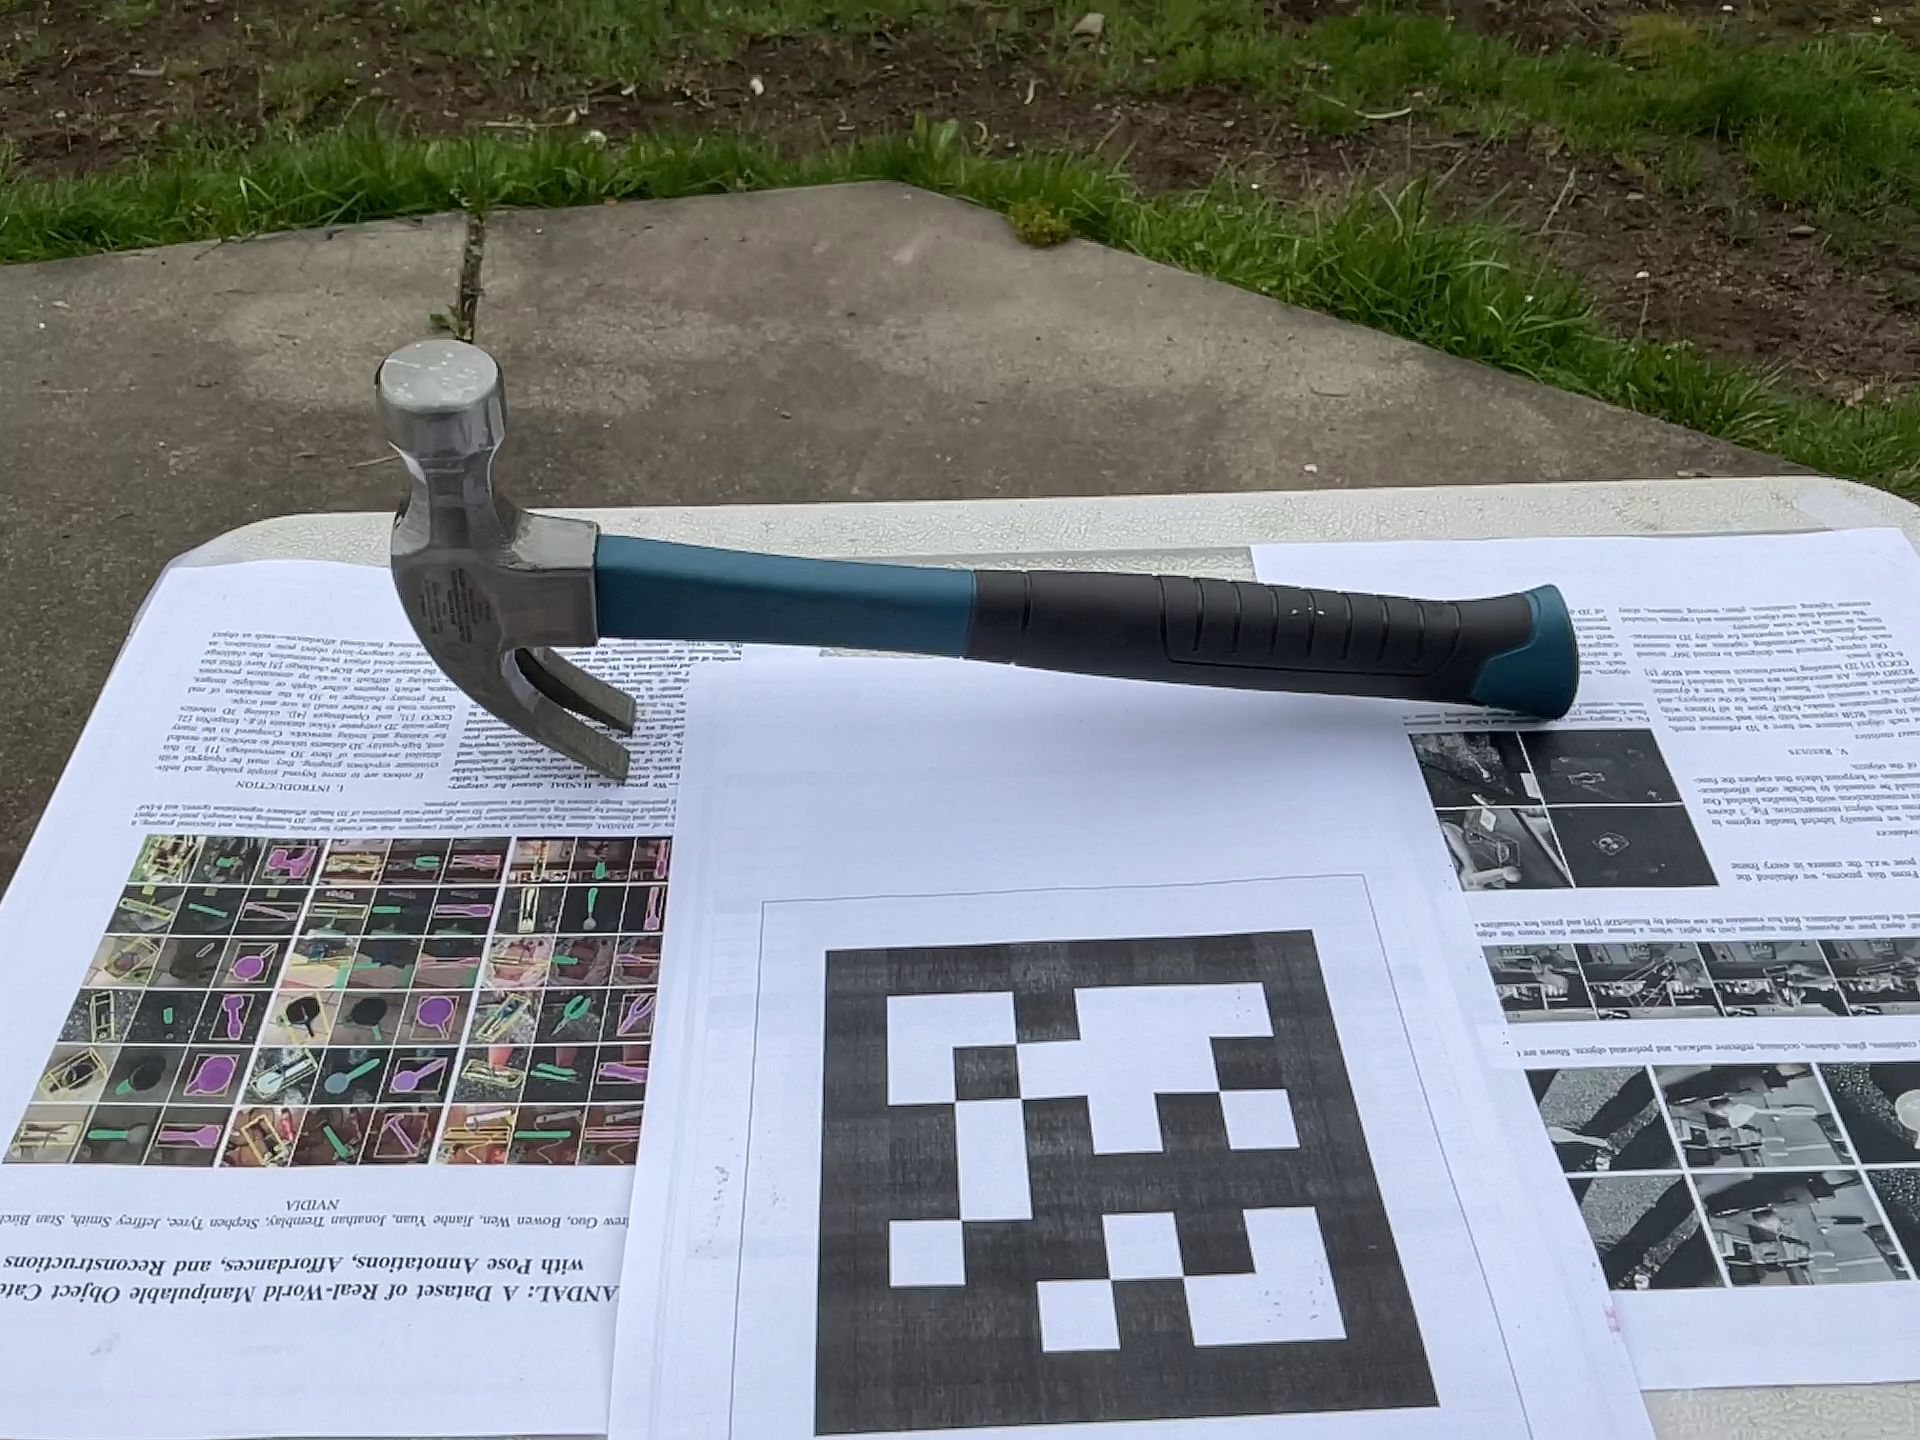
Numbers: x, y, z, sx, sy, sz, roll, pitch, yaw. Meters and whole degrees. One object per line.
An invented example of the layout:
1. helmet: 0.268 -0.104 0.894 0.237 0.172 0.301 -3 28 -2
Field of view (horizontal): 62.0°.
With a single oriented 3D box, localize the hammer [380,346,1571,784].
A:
1. hammer: 0.016 -0.029 0.448 0.331 0.128 0.033 4 47 -8
